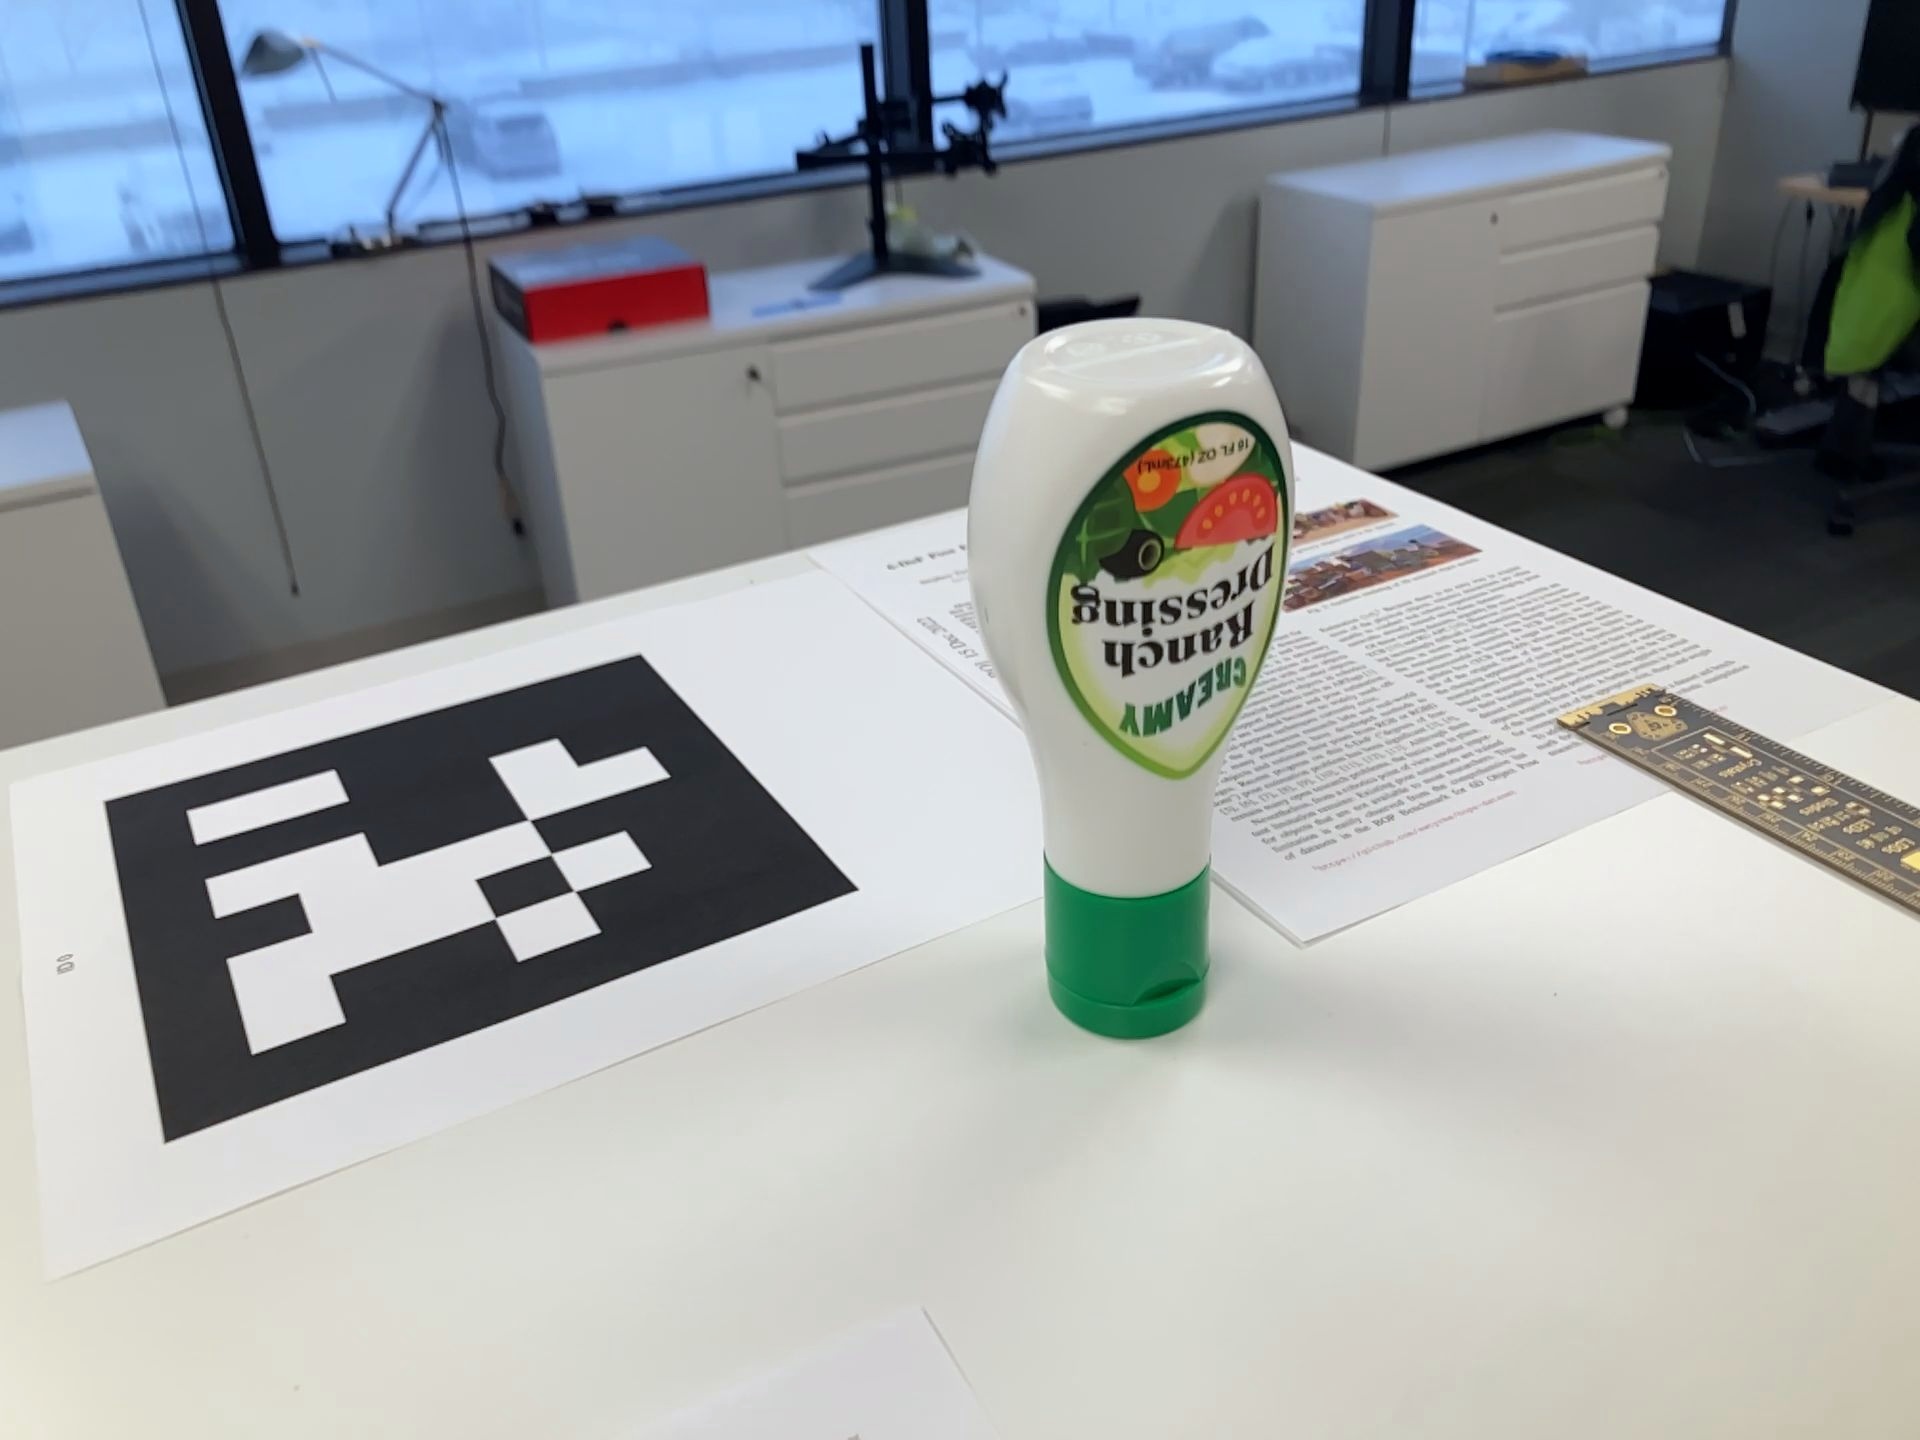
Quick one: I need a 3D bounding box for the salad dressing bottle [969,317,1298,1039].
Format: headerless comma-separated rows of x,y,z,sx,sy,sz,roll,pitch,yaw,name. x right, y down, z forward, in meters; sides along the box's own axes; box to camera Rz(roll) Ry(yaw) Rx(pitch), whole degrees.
0.035,-0.004,0.323,0.064,0.147,0.044,-17,32,-23,salad dressing bottle
